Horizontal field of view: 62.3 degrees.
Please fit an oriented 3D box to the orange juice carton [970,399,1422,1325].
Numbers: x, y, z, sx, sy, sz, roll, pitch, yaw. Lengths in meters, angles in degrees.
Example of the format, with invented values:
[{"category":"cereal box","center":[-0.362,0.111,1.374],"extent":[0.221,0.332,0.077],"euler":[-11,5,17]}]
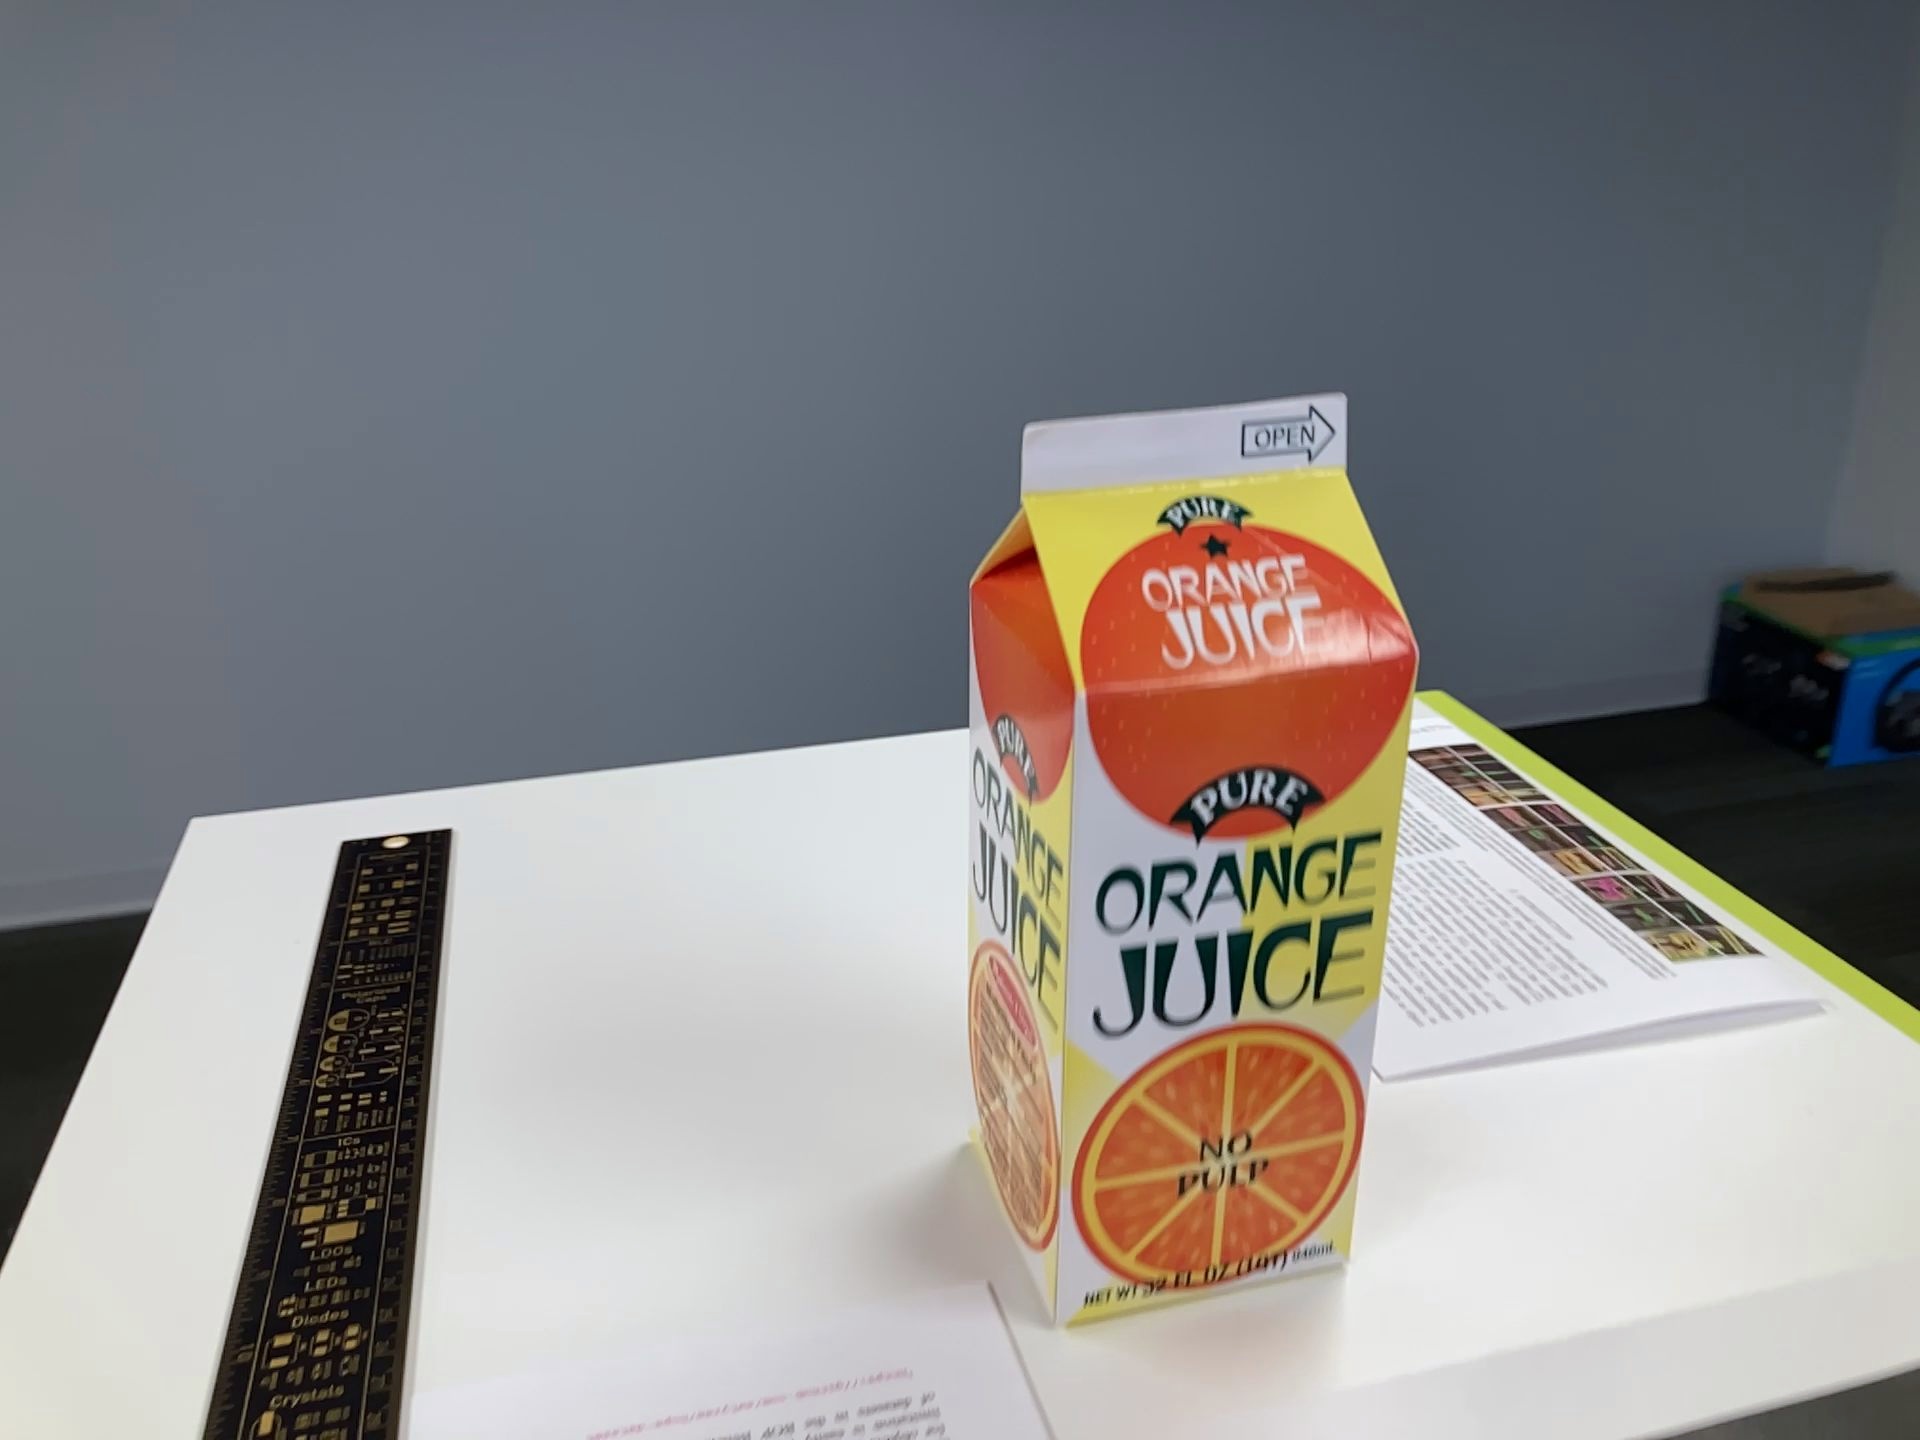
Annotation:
[{"category":"orange juice carton","center":[0.045,0.028,0.347],"extent":[0.072,0.192,0.073],"euler":[-6,24,-15]}]
